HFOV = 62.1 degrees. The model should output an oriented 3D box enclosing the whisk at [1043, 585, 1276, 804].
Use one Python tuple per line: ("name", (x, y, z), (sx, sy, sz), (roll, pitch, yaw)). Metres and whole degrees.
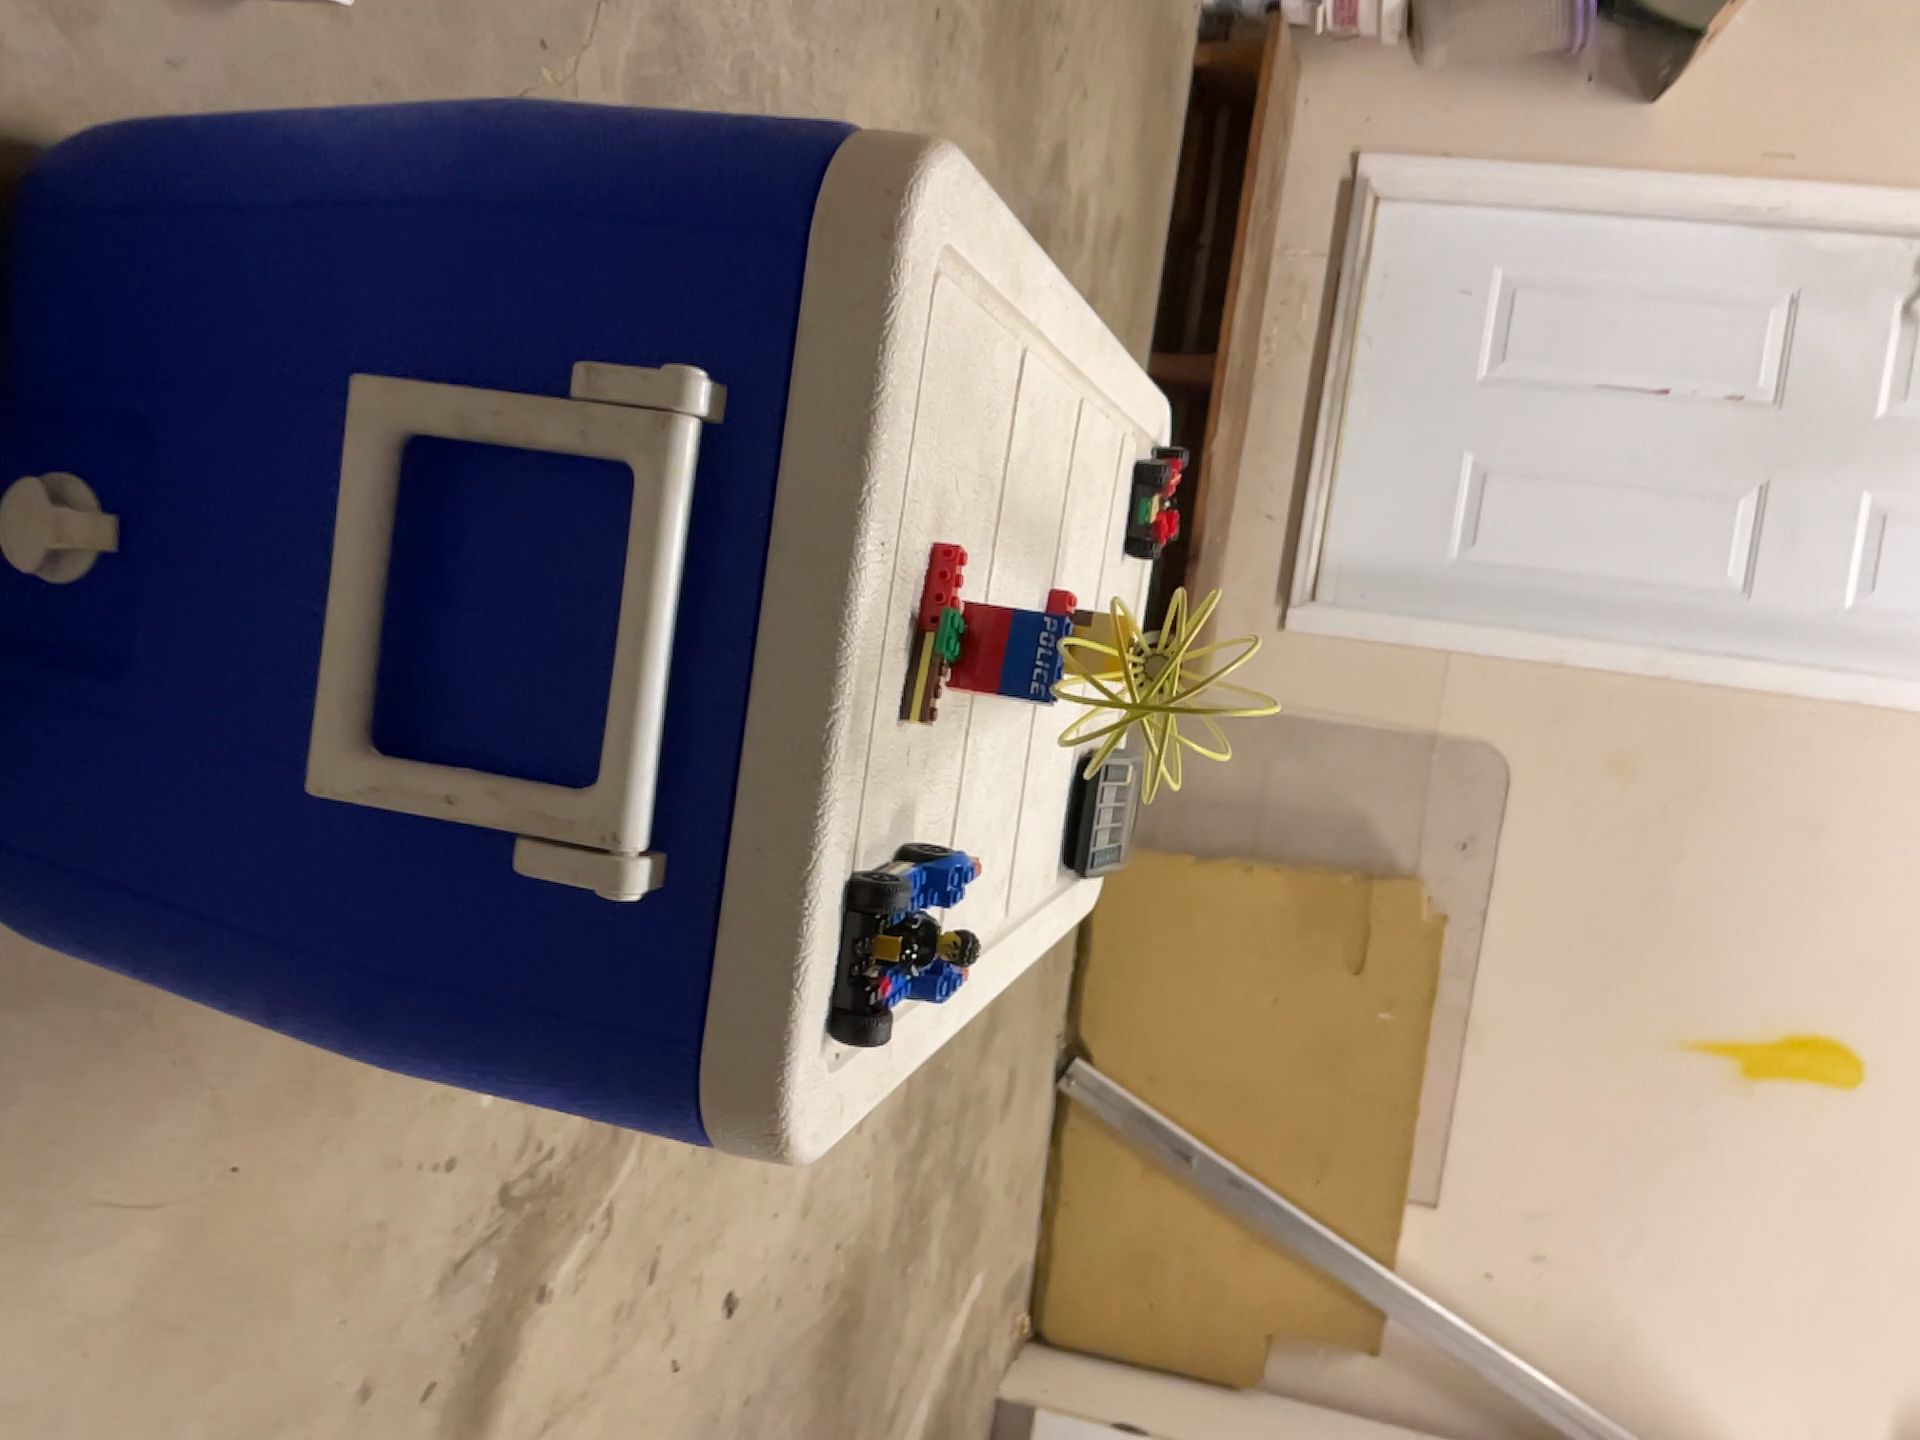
("whisk", (0.077, -0.020, 0.639), (0.080, 0.067, 0.311), (-36, 180, 9))
